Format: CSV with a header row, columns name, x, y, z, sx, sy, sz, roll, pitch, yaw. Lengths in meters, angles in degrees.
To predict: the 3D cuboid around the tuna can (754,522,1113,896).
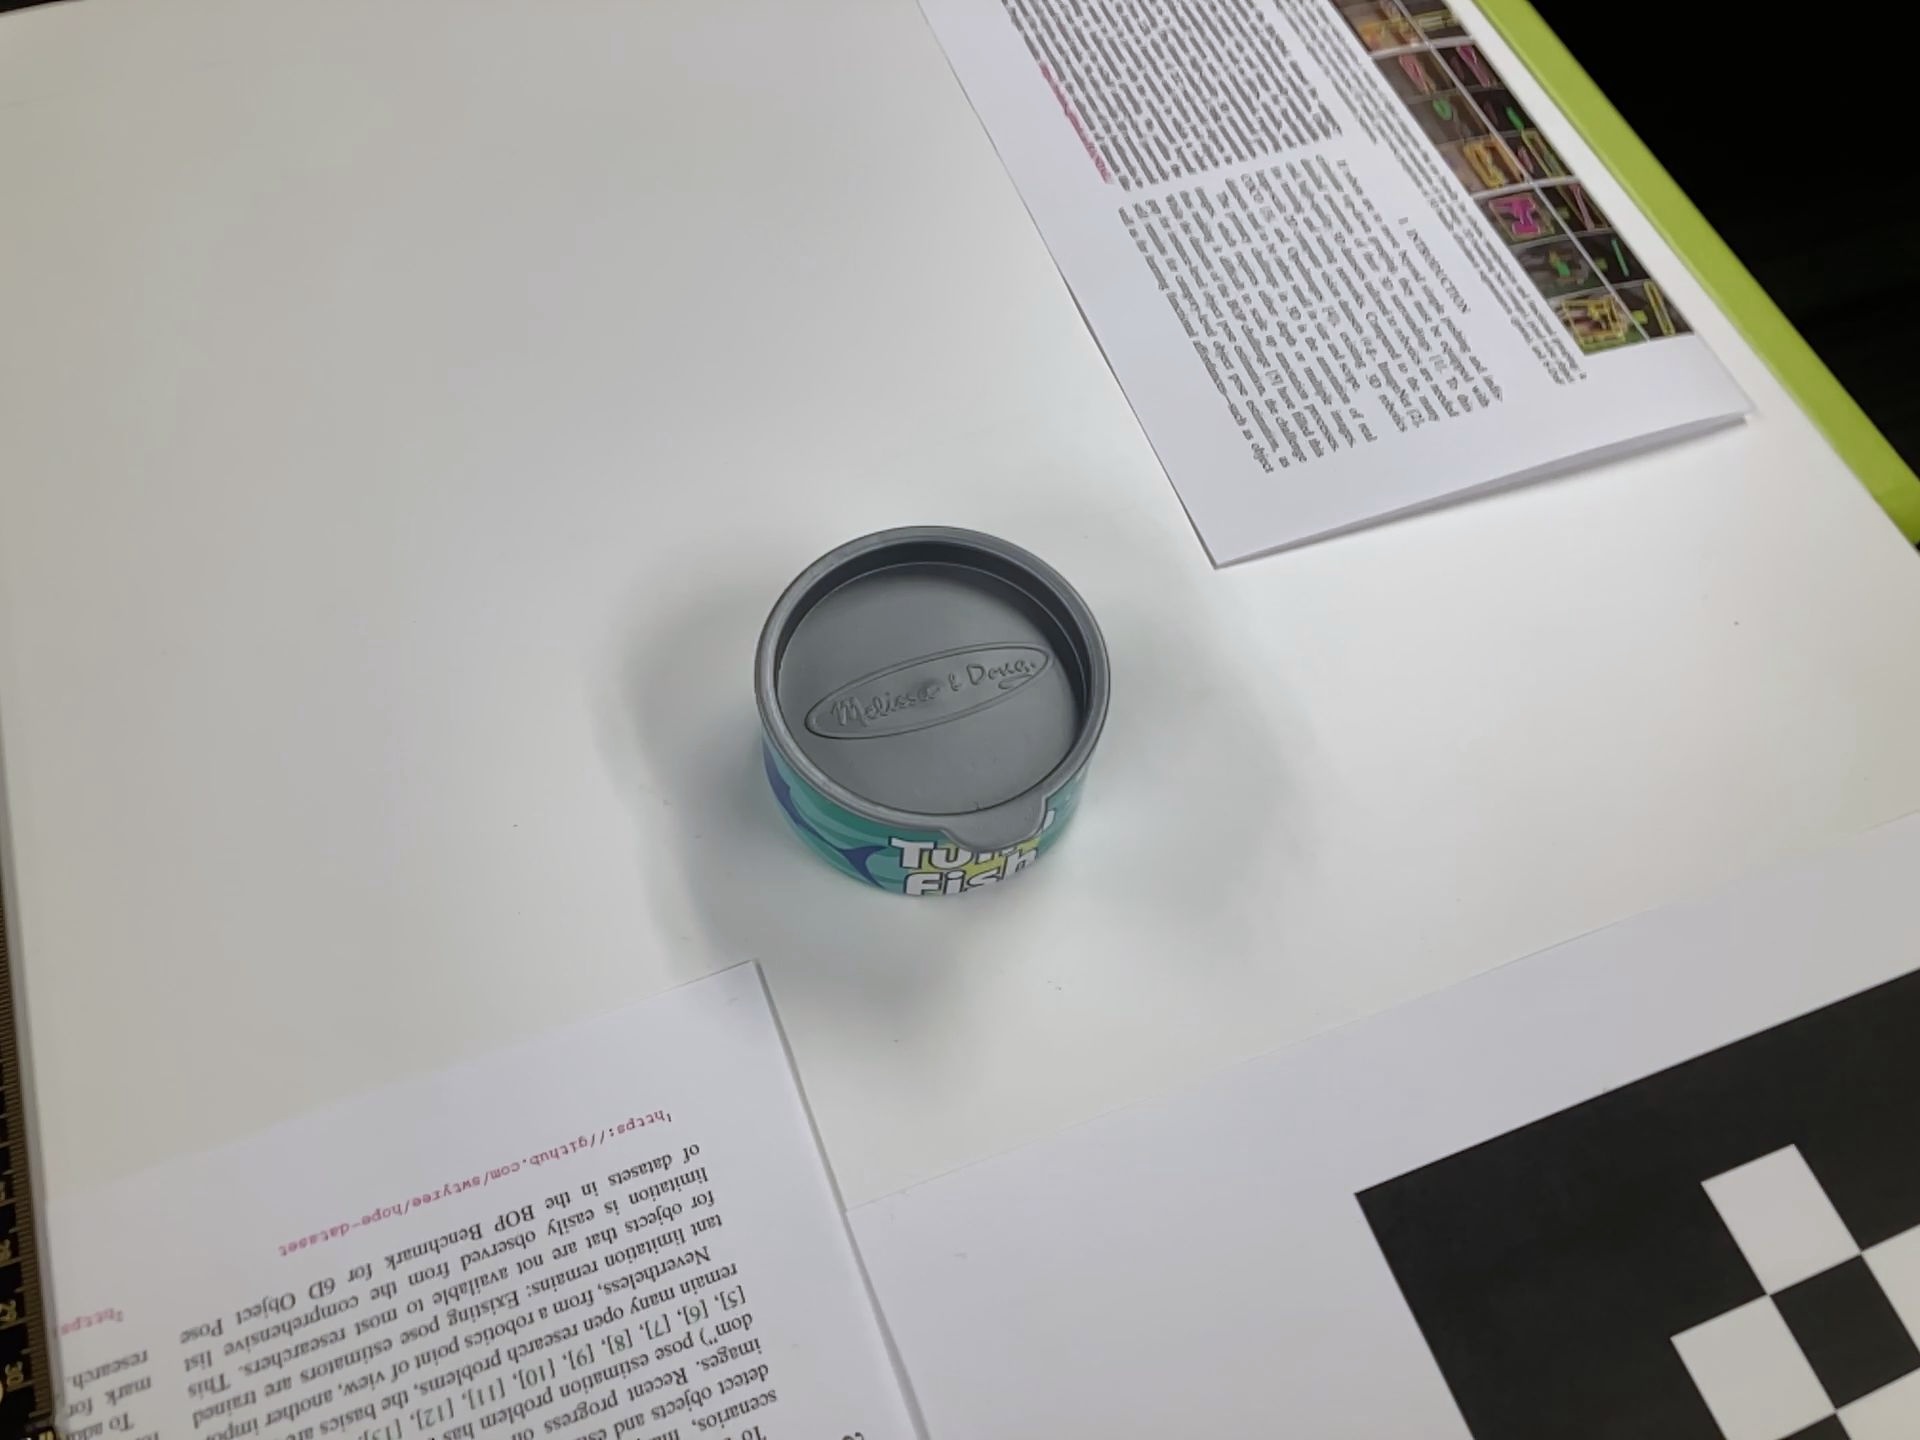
name,x,y,z,sx,sy,sz,roll,pitch,yaw
tuna can,-0.005,0.000,0.303,0.071,0.033,0.071,2,60,-3
